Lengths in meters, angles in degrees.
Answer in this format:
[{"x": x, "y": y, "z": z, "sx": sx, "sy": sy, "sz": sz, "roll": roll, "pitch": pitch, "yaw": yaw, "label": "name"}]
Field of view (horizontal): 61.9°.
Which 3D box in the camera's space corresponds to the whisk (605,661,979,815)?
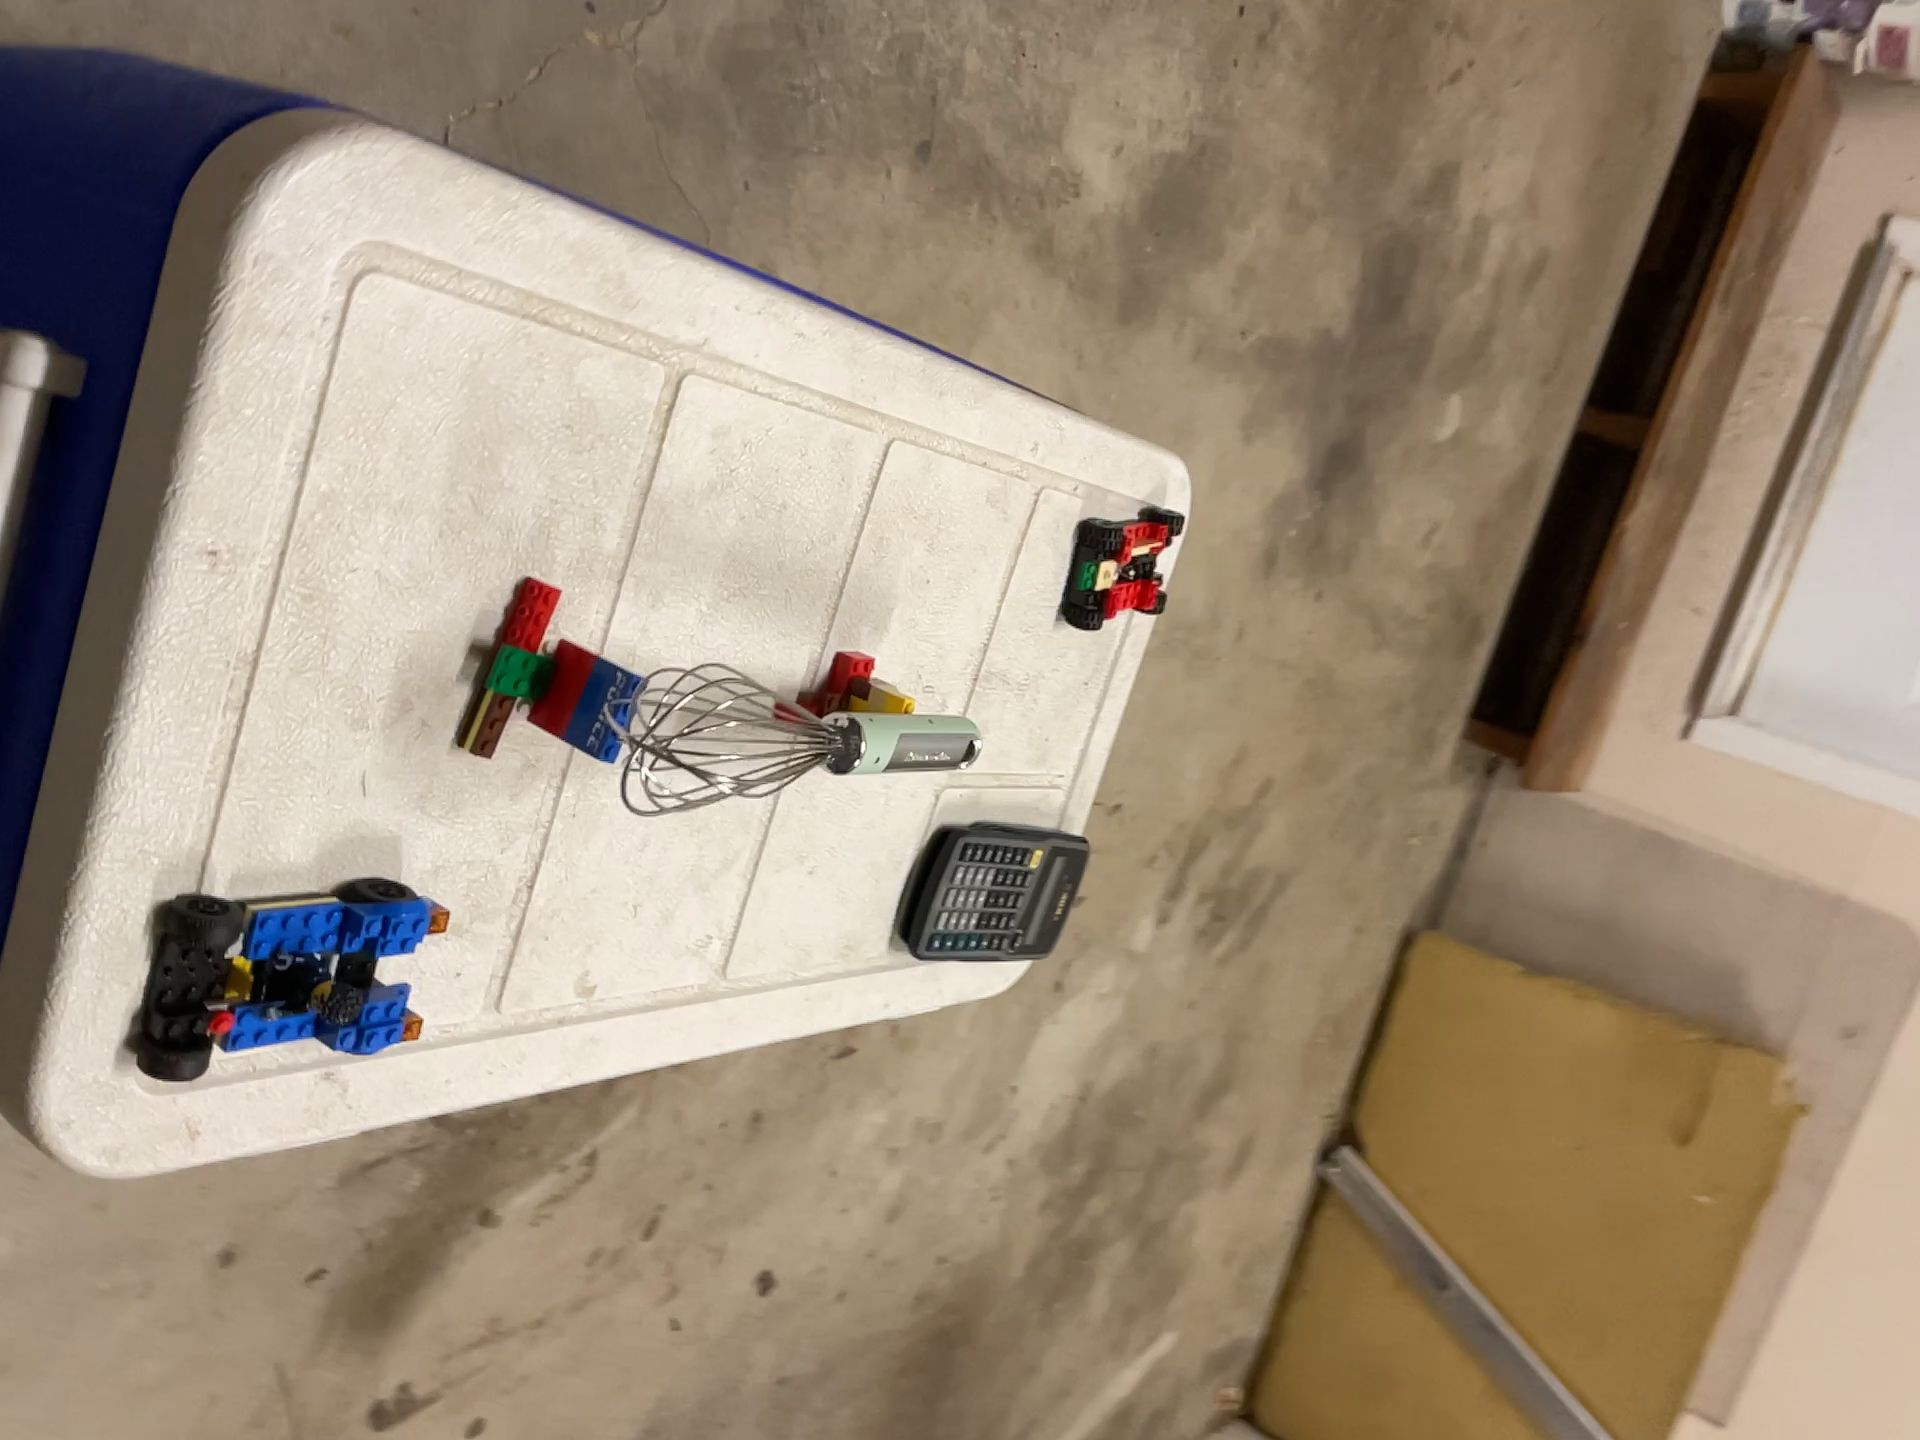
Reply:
[{"x": -0.052, "y": 0.009, "z": 0.621, "sx": 0.246, "sy": 0.059, "sz": 0.057, "roll": 2, "pitch": 116, "yaw": -64, "label": "whisk"}]
